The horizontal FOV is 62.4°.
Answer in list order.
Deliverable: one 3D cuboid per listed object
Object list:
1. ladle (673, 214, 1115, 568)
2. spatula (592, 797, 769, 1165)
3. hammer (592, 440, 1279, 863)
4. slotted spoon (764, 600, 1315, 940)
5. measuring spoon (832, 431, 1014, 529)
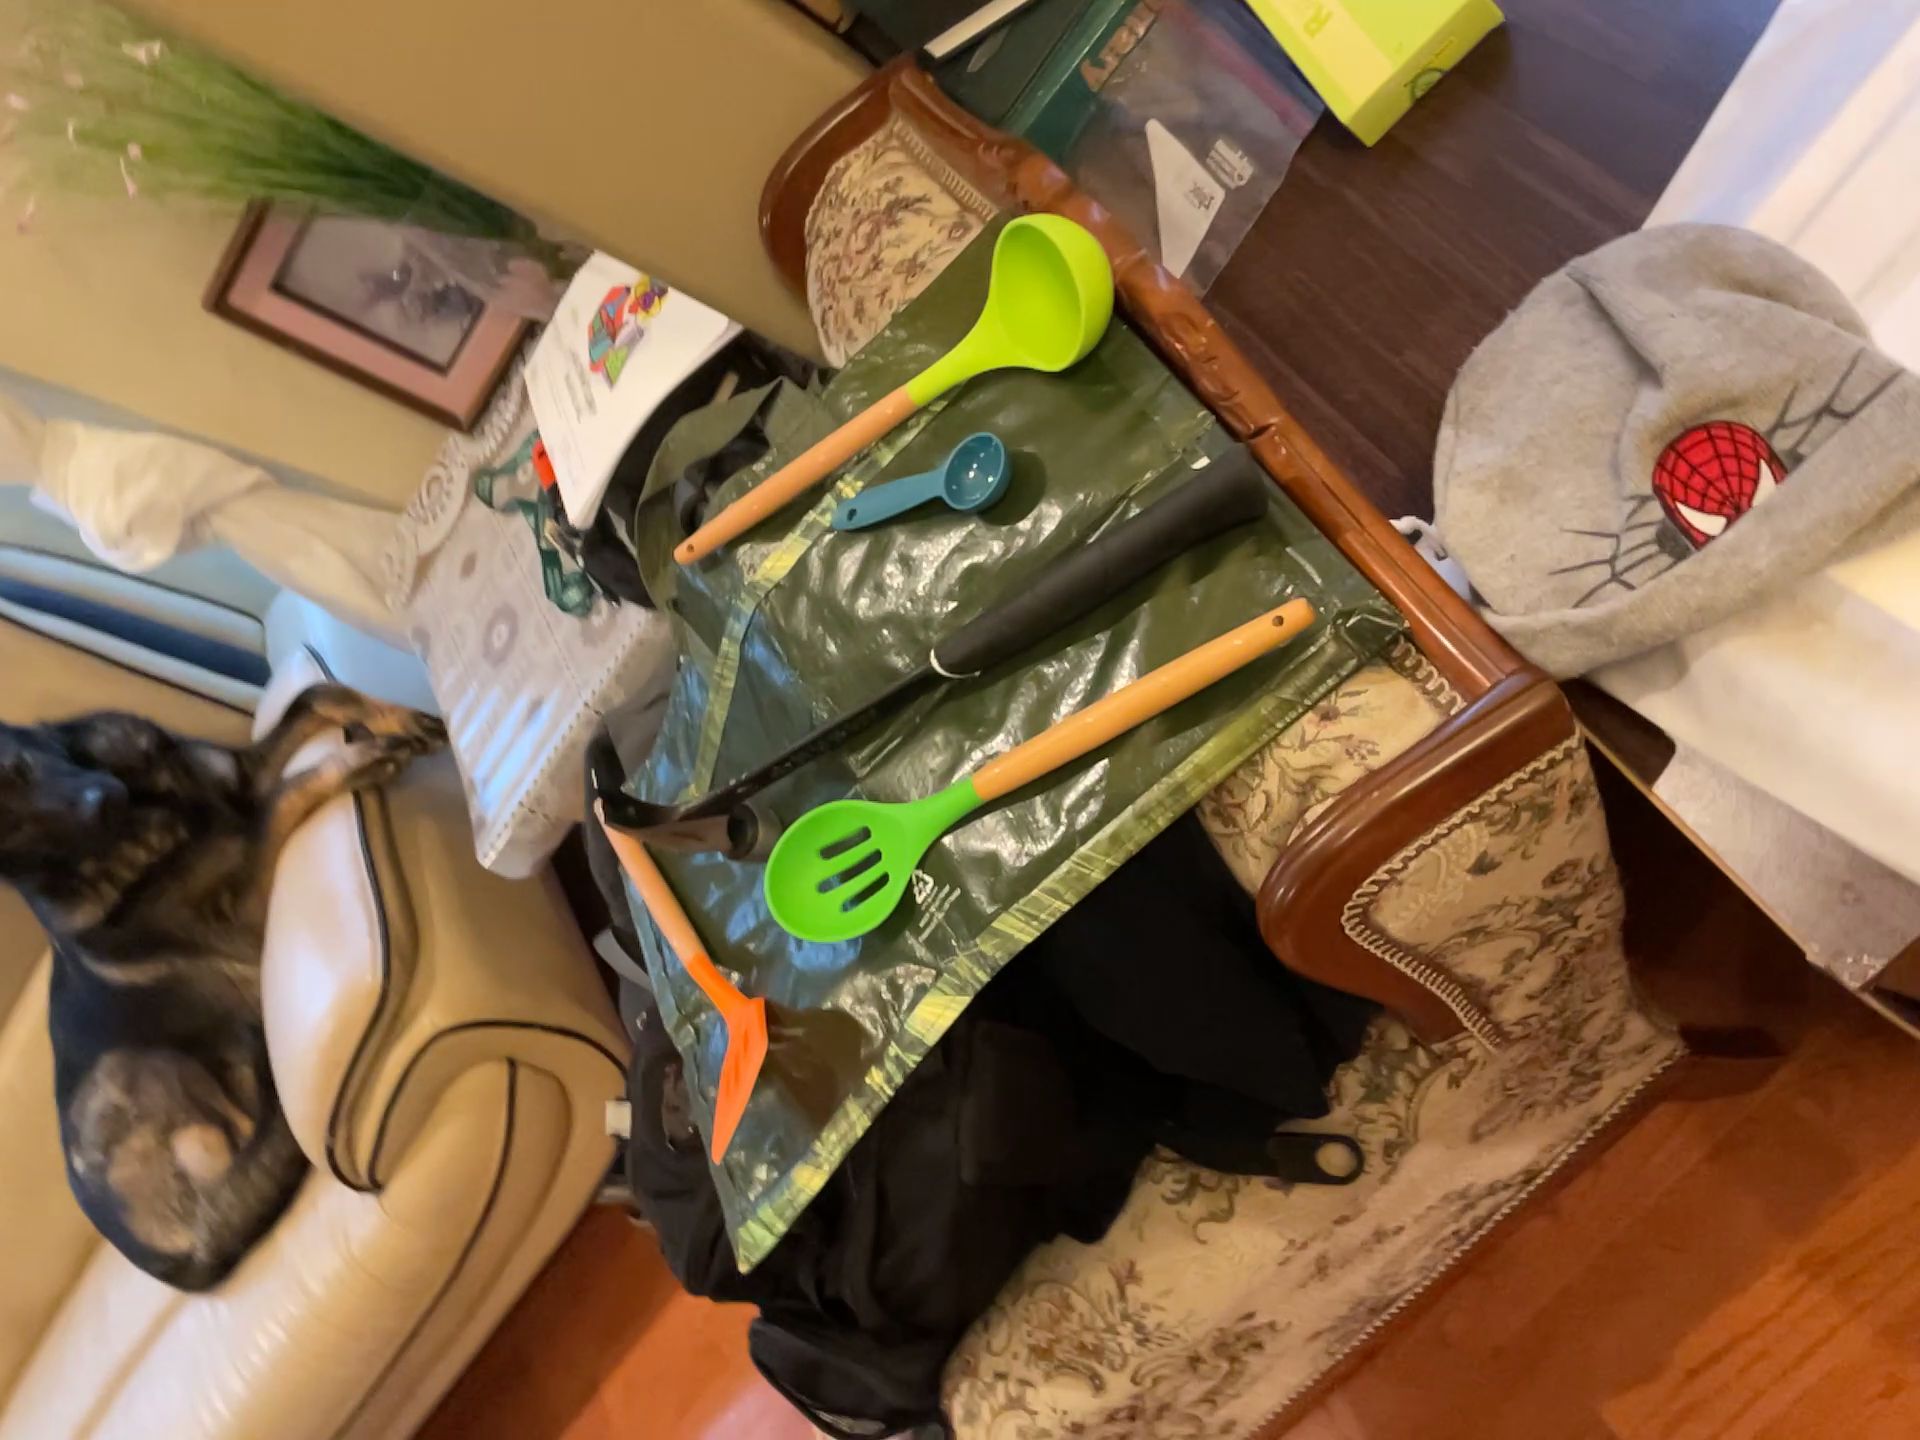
[{"bbox_3d":[-0.050,-0.164,0.864,0.320,0.062,0.078,-29,82,28],"label":"ladle"},{"bbox_3d":[-0.177,0.134,0.969,0.323,0.041,0.081,46,117,47],"label":"spatula"},{"bbox_3d":[-0.017,-0.026,0.812,0.409,0.149,0.036,-30,65,27],"label":"hammer"},{"bbox_3d":[0.031,0.023,0.766,0.314,0.031,0.070,-30,71,24],"label":"slotted spoon"},{"bbox_3d":[-0.018,-0.119,0.846,0.129,0.021,0.042,-11,67,42],"label":"measuring spoon"}]
